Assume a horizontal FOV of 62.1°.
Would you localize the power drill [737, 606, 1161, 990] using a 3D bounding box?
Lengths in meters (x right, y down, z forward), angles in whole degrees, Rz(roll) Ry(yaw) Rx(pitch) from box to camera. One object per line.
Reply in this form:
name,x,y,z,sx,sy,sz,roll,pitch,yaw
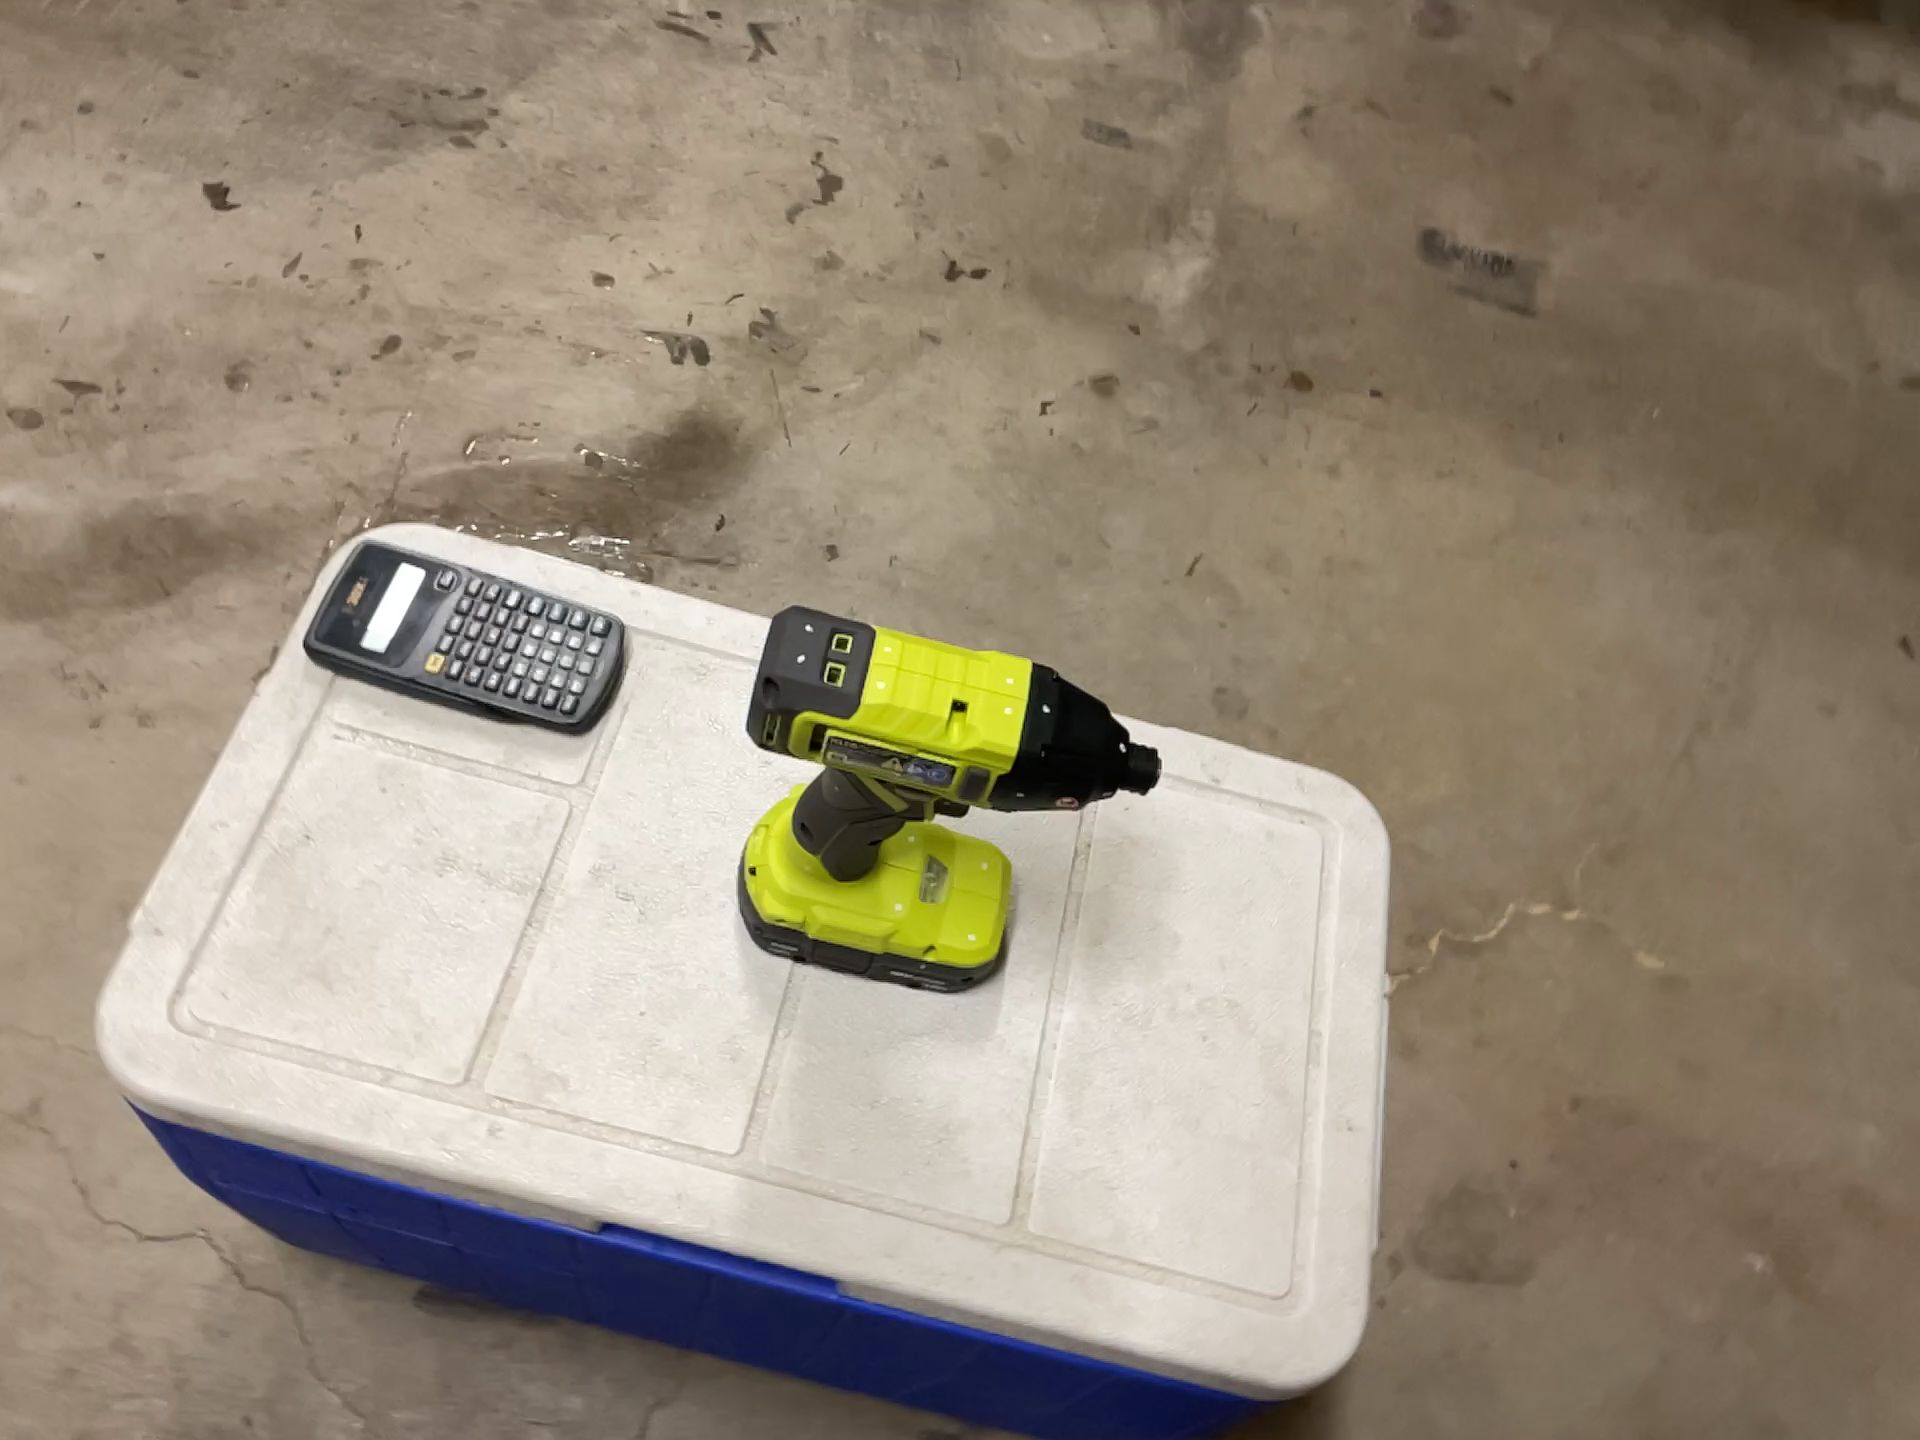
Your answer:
power drill,-0.018,0.043,0.732,0.171,0.223,0.080,14,58,-5
